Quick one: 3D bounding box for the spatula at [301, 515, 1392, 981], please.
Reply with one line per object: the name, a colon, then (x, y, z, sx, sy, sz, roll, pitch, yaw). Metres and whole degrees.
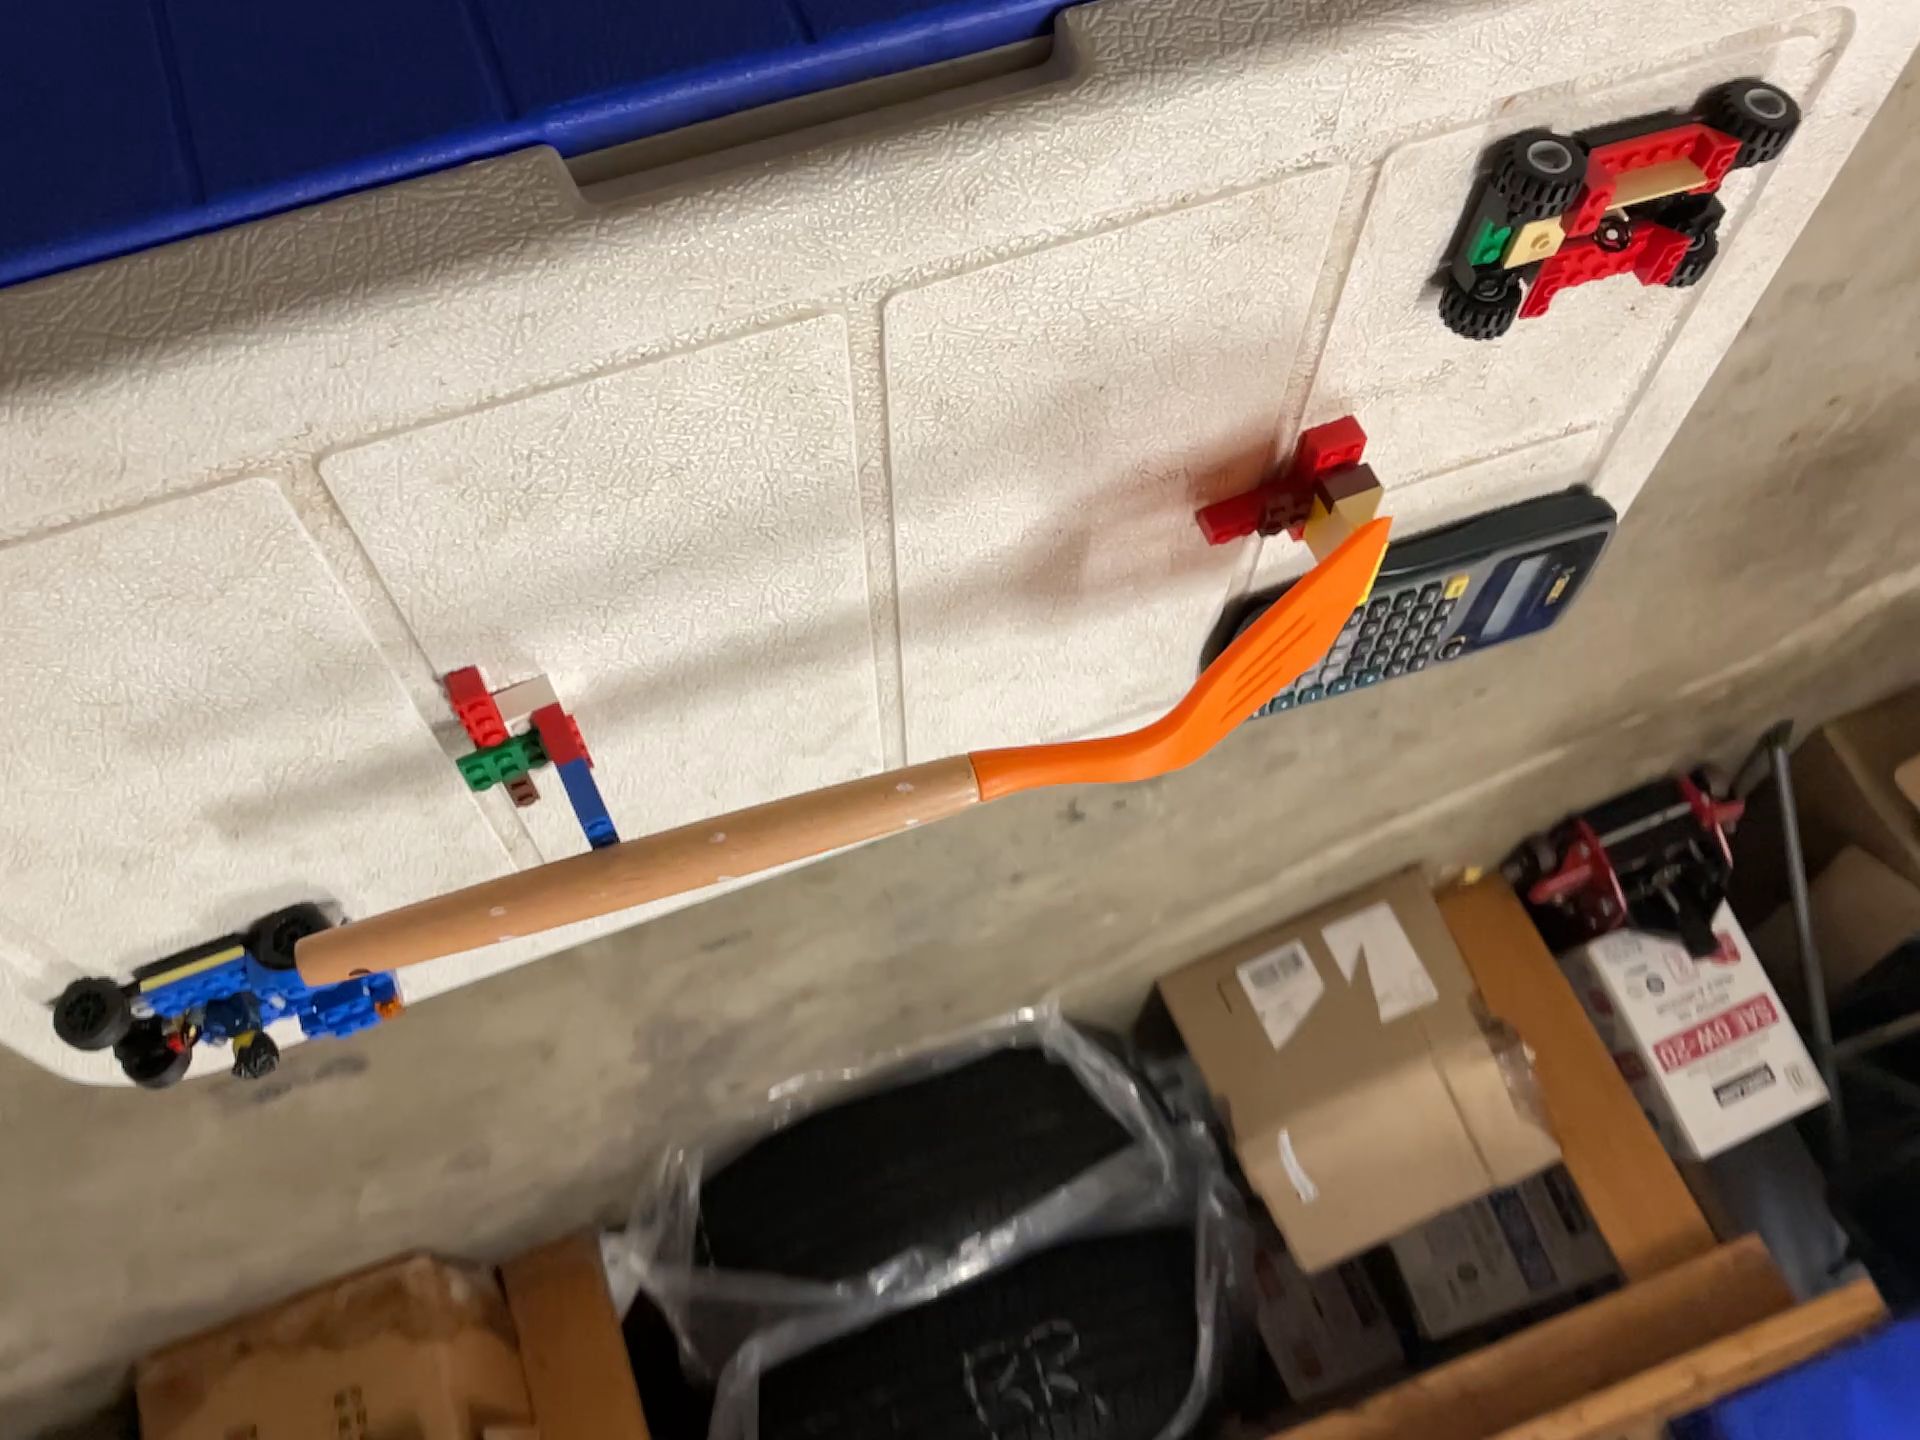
spatula: (-0.022, 0.014, 0.454, 0.322, 0.041, 0.081, -15, 154, -10)
